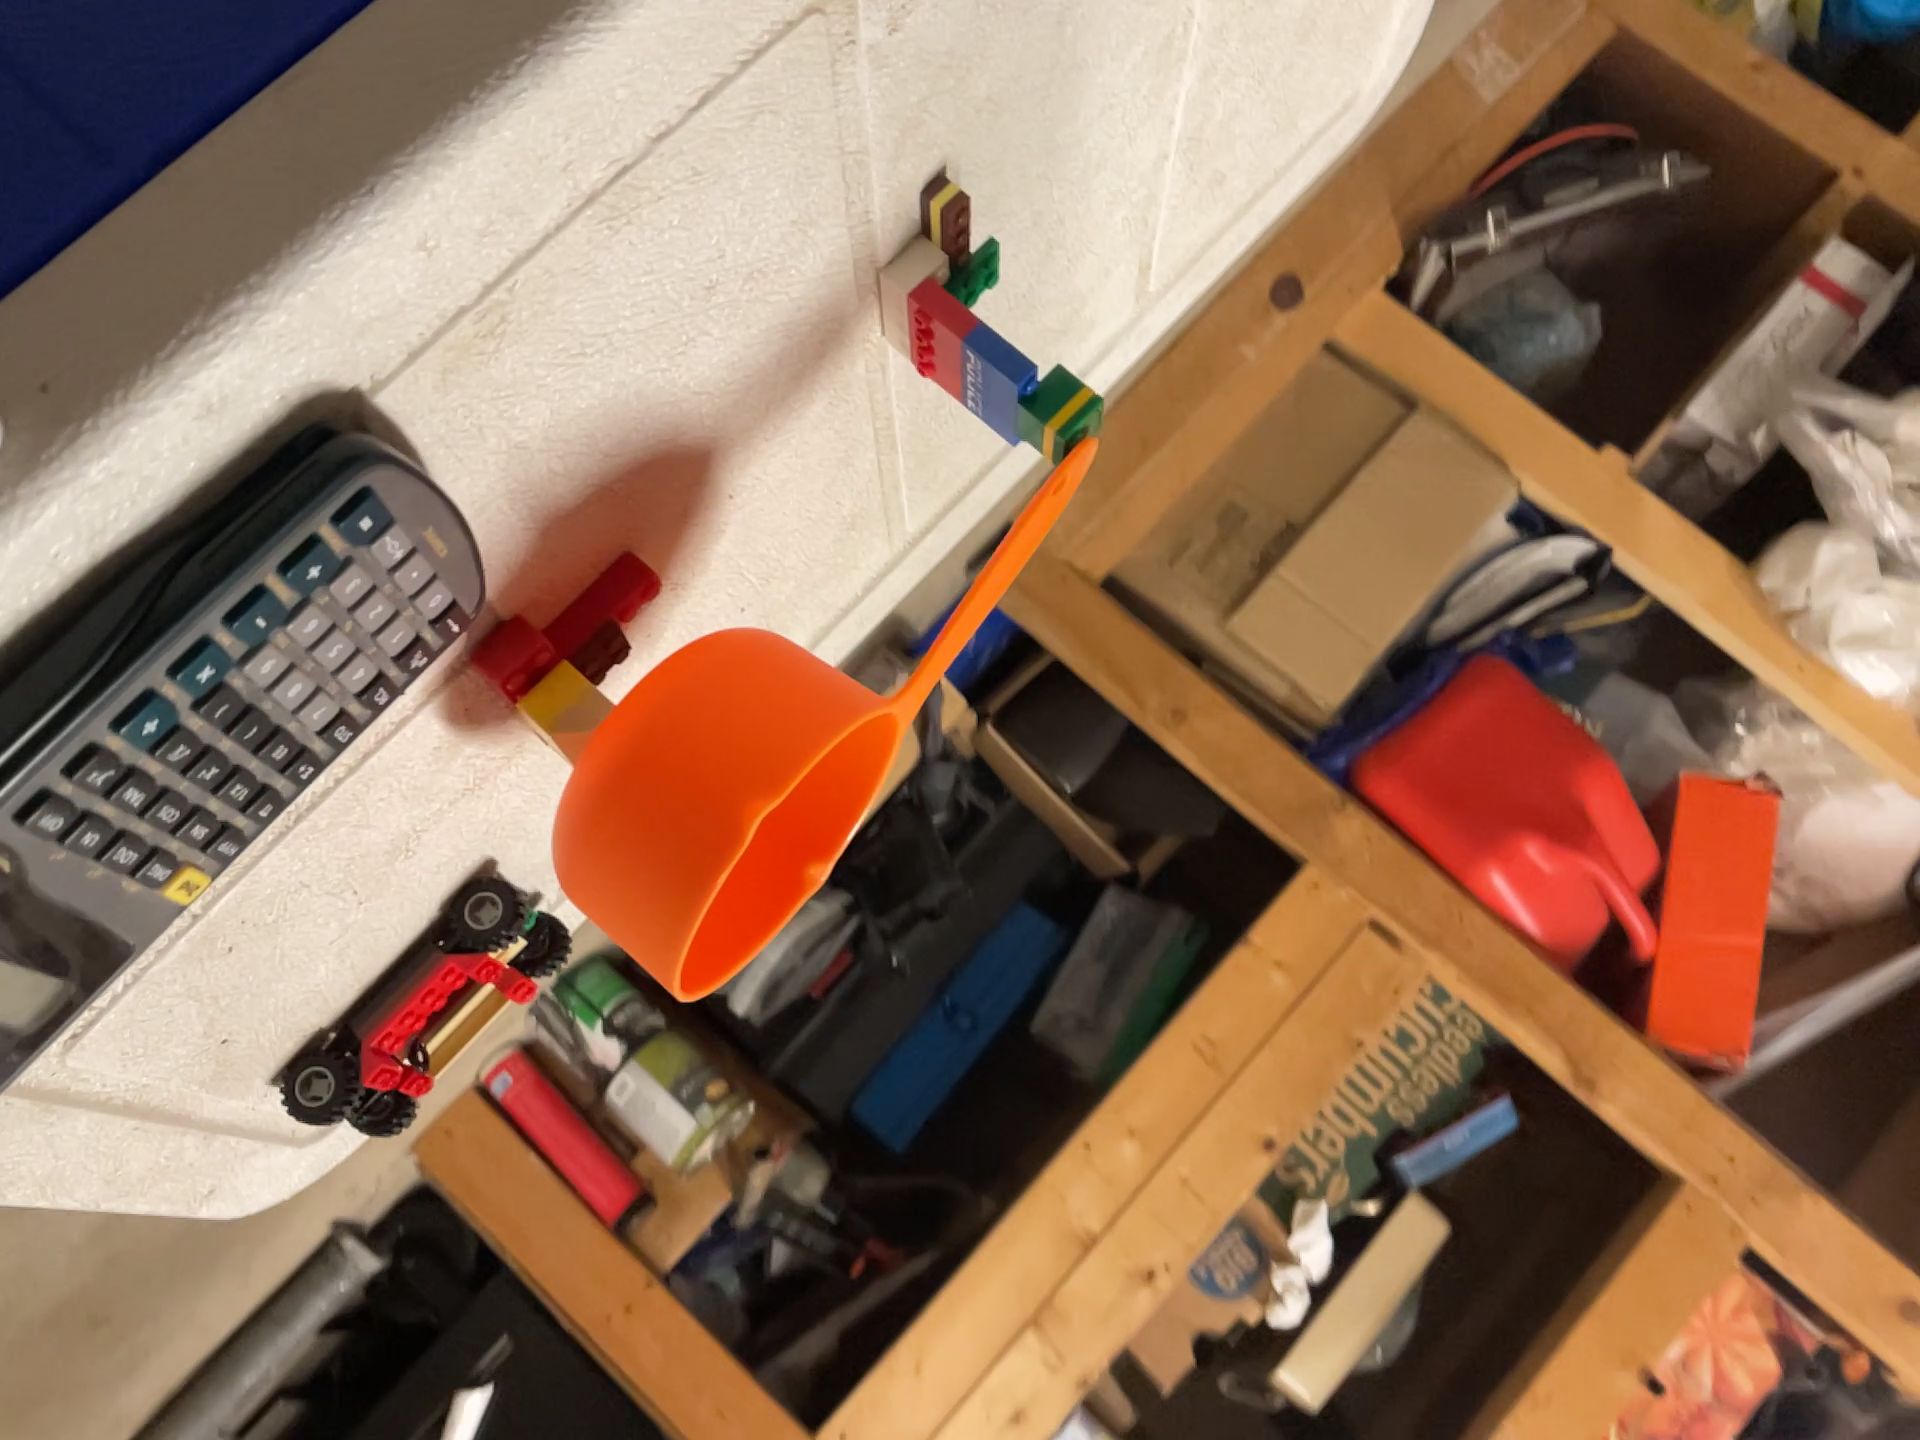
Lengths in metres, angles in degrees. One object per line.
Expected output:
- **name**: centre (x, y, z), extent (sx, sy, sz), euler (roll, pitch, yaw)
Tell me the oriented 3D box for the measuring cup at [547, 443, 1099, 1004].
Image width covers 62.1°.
- **measuring cup**: centre (-0.034, -0.014, 0.398), extent (0.173, 0.052, 0.095), euler (-53, 169, -10)
